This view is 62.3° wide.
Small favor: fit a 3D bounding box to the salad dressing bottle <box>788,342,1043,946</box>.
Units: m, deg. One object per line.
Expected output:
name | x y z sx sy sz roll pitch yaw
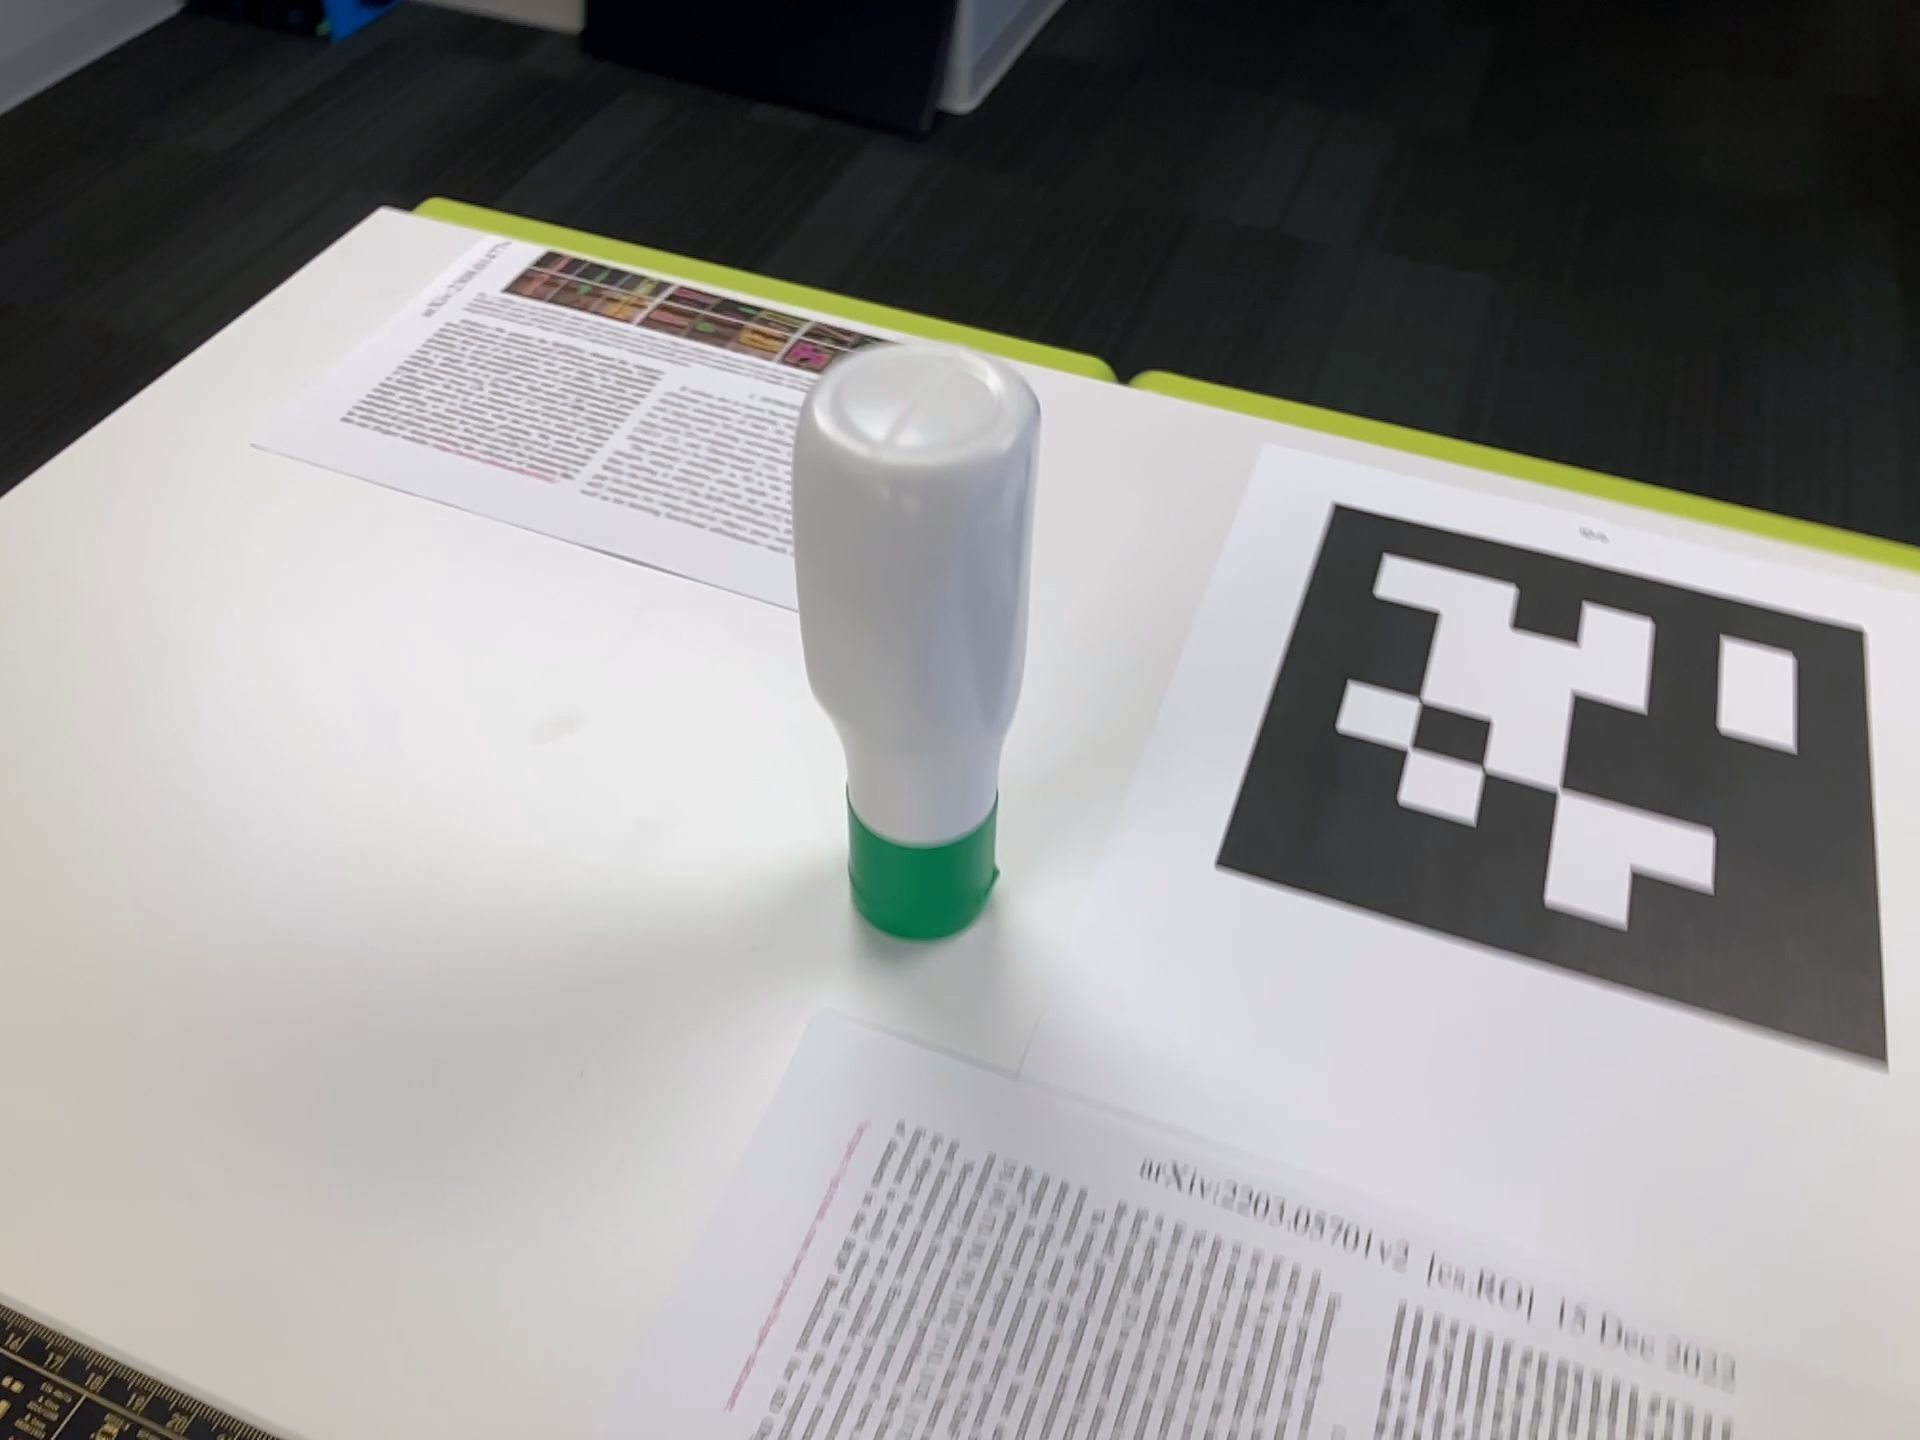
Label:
salad dressing bottle | -0.009 -0.008 0.346 0.044 0.147 0.064 17 48 15
